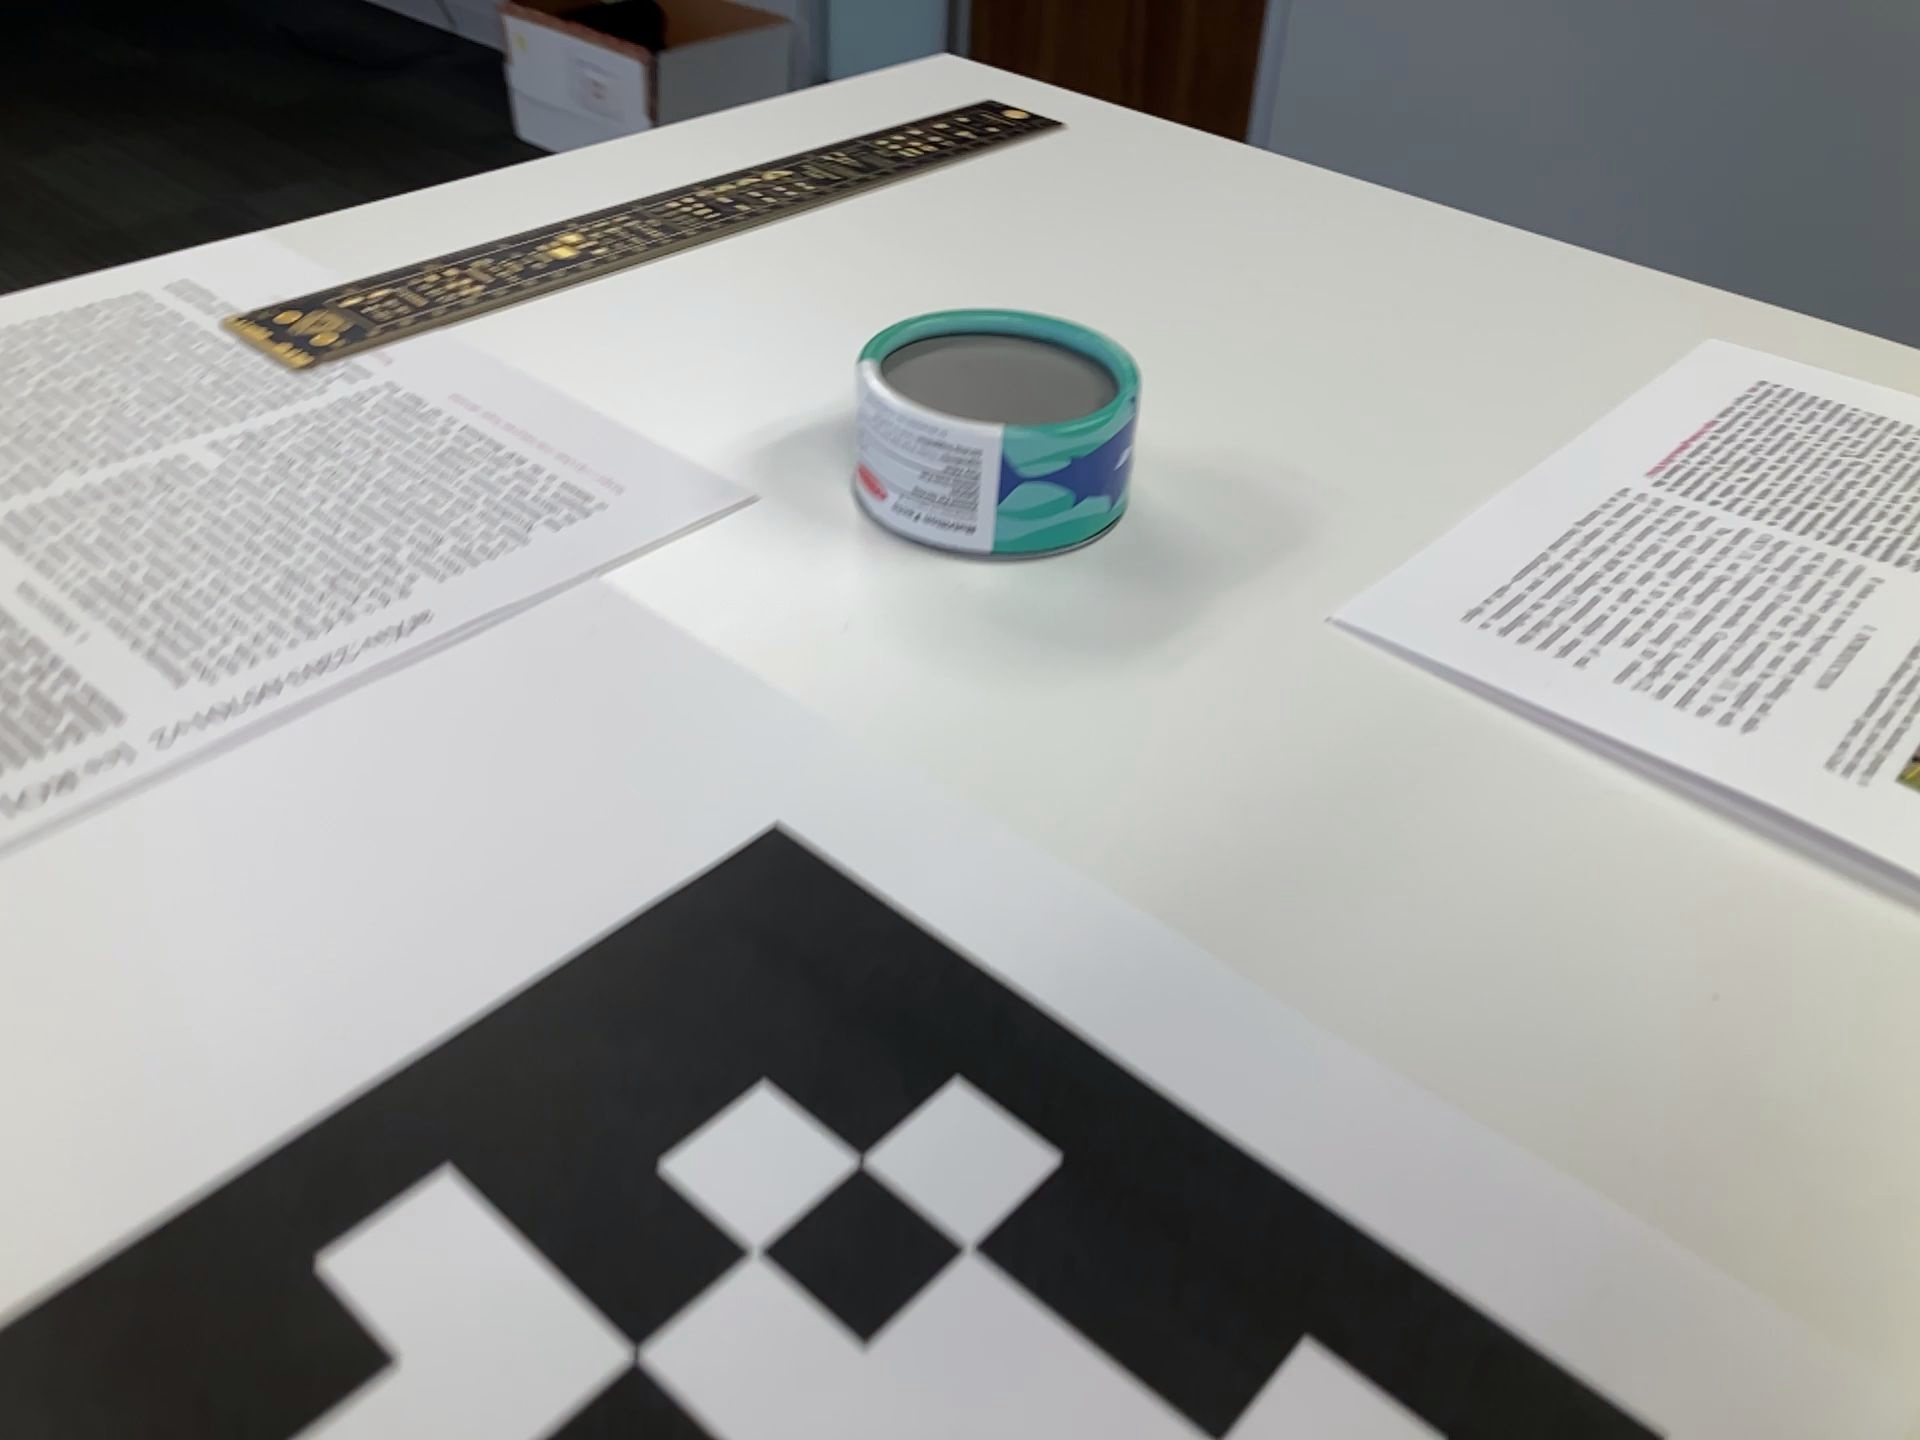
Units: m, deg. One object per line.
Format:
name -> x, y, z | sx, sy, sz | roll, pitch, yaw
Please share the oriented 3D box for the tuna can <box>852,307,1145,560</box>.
tuna can -> 0.010, -0.069, 0.371 | 0.071, 0.033, 0.071 | 4, 38, -3
